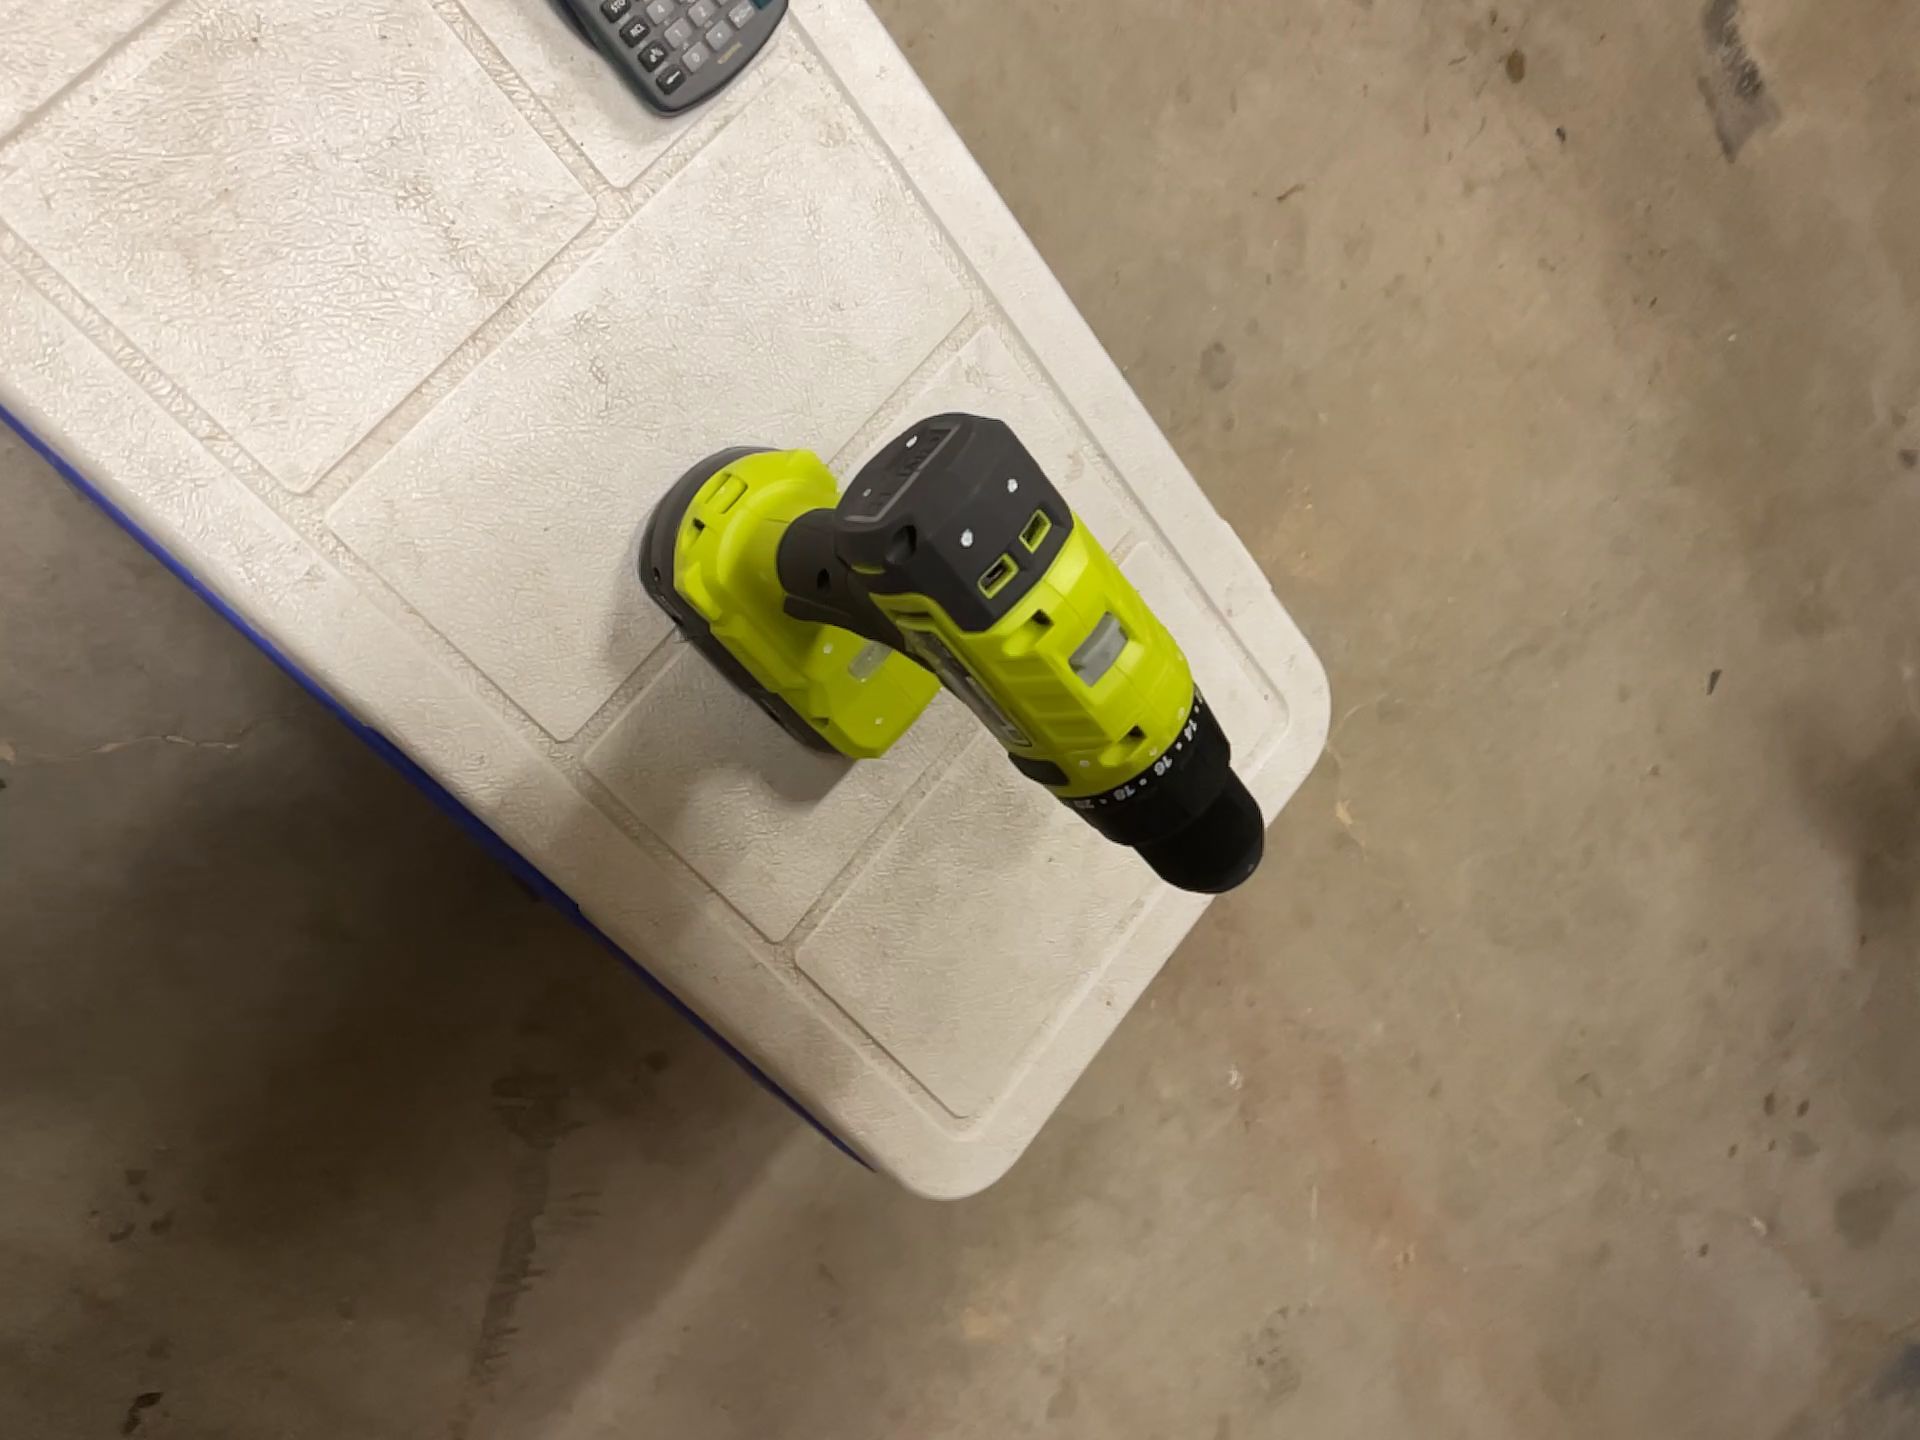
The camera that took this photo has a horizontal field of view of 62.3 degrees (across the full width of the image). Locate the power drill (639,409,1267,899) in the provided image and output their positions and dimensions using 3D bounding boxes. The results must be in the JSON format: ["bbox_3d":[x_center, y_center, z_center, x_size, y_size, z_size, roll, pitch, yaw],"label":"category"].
[{"bbox_3d":[-0.005,-0.023,0.566,0.080,0.228,0.190,-51,121,-15],"label":"power drill"}]
